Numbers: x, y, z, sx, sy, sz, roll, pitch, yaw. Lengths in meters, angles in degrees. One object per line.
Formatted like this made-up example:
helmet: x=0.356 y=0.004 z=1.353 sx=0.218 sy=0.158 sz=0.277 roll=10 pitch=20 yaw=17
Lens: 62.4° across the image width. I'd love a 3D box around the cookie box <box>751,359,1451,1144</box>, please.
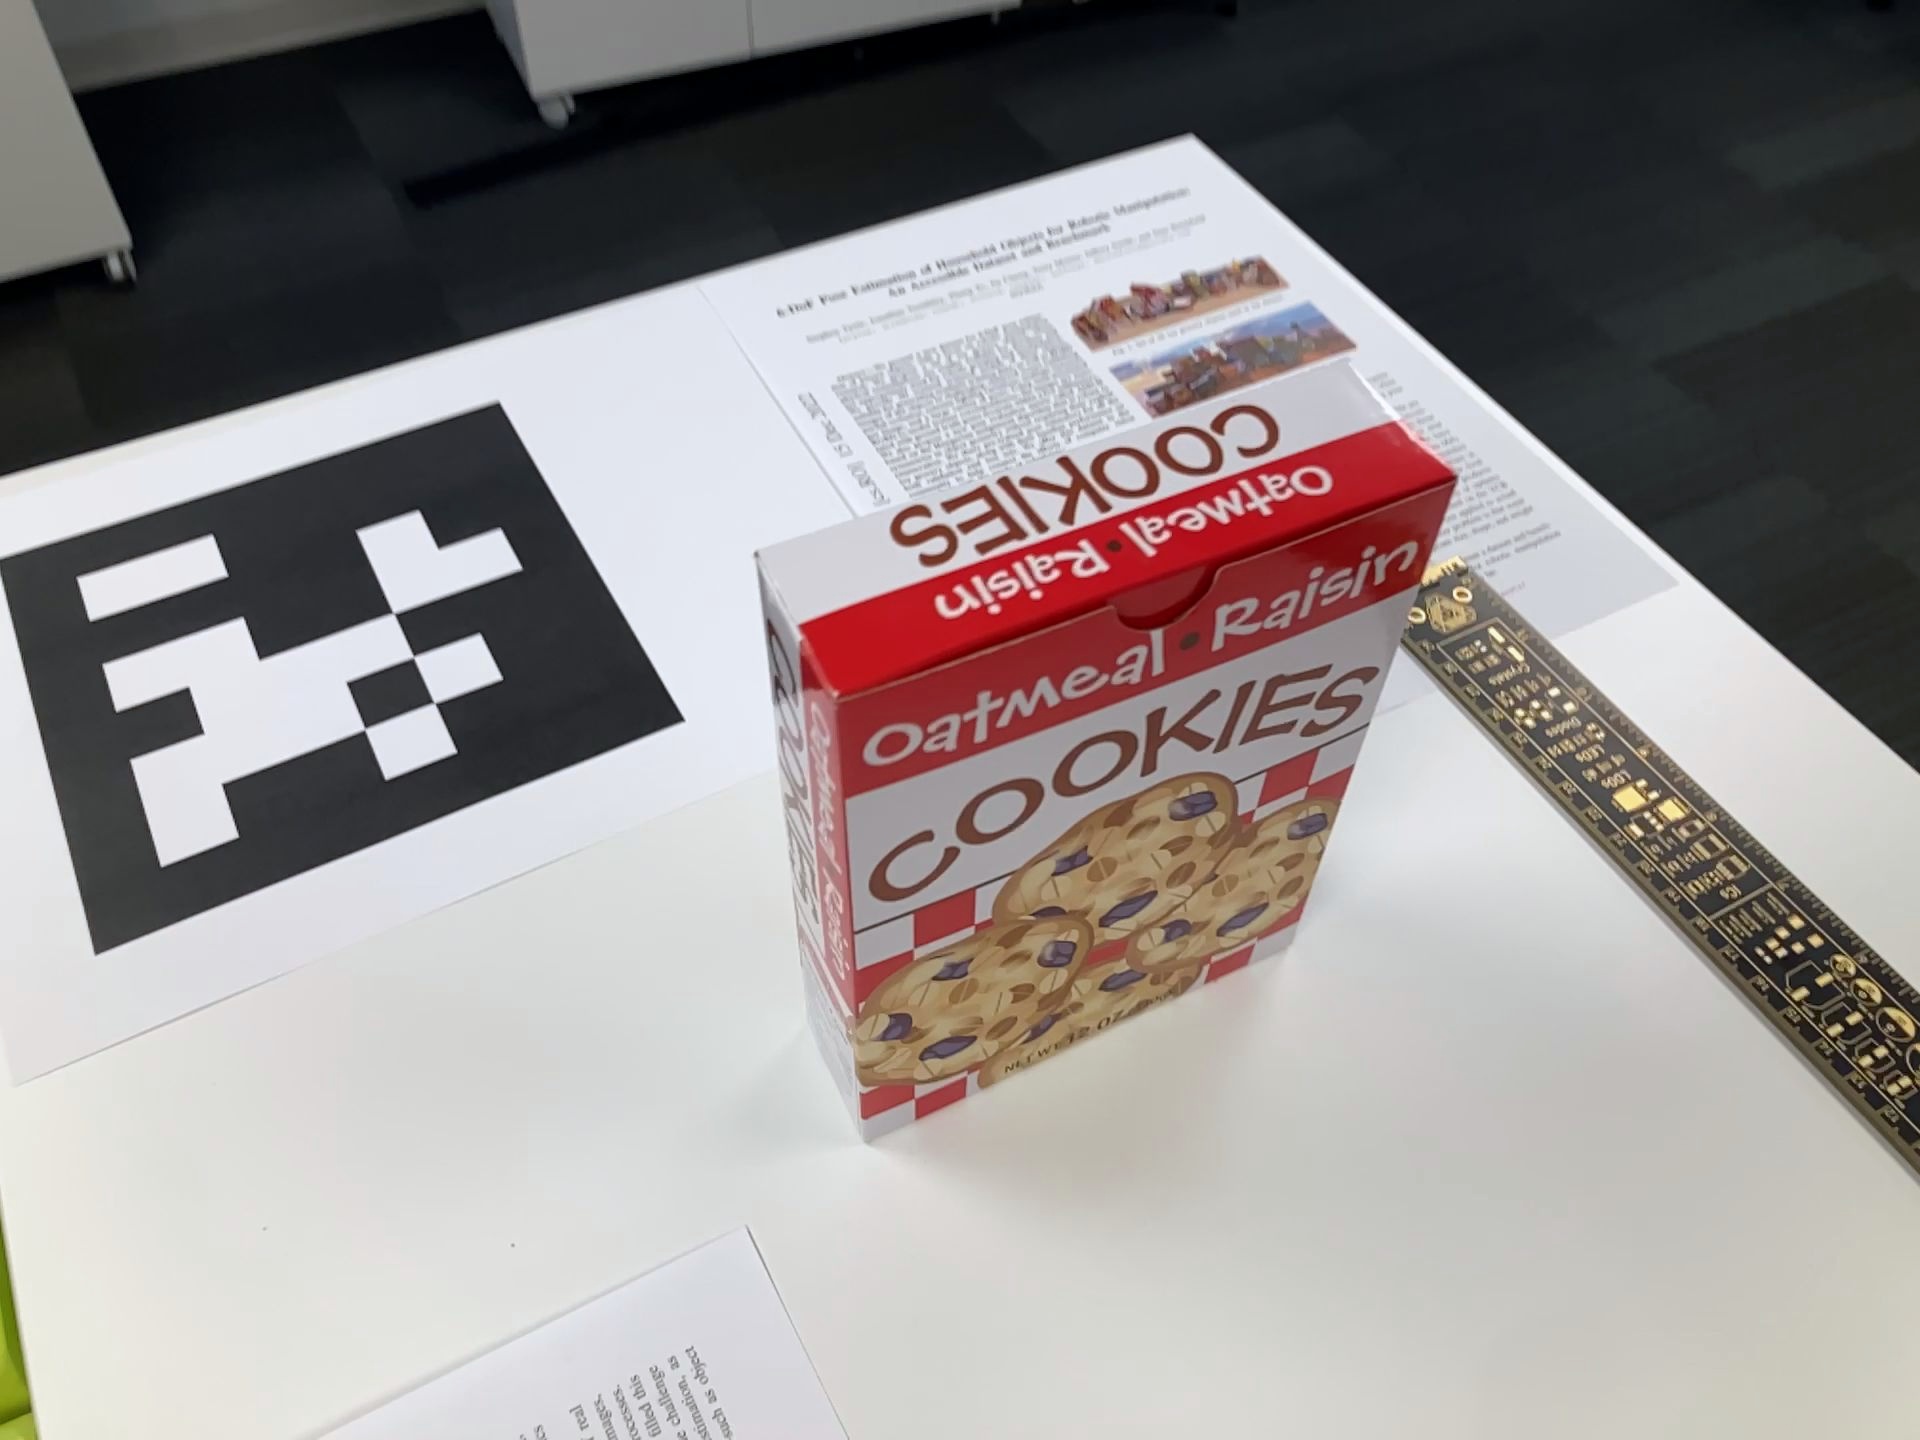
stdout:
cookie box: x=0.026 y=0.015 z=0.337 sx=0.123 sy=0.167 sz=0.040 roll=-21 pitch=54 yaw=-17
